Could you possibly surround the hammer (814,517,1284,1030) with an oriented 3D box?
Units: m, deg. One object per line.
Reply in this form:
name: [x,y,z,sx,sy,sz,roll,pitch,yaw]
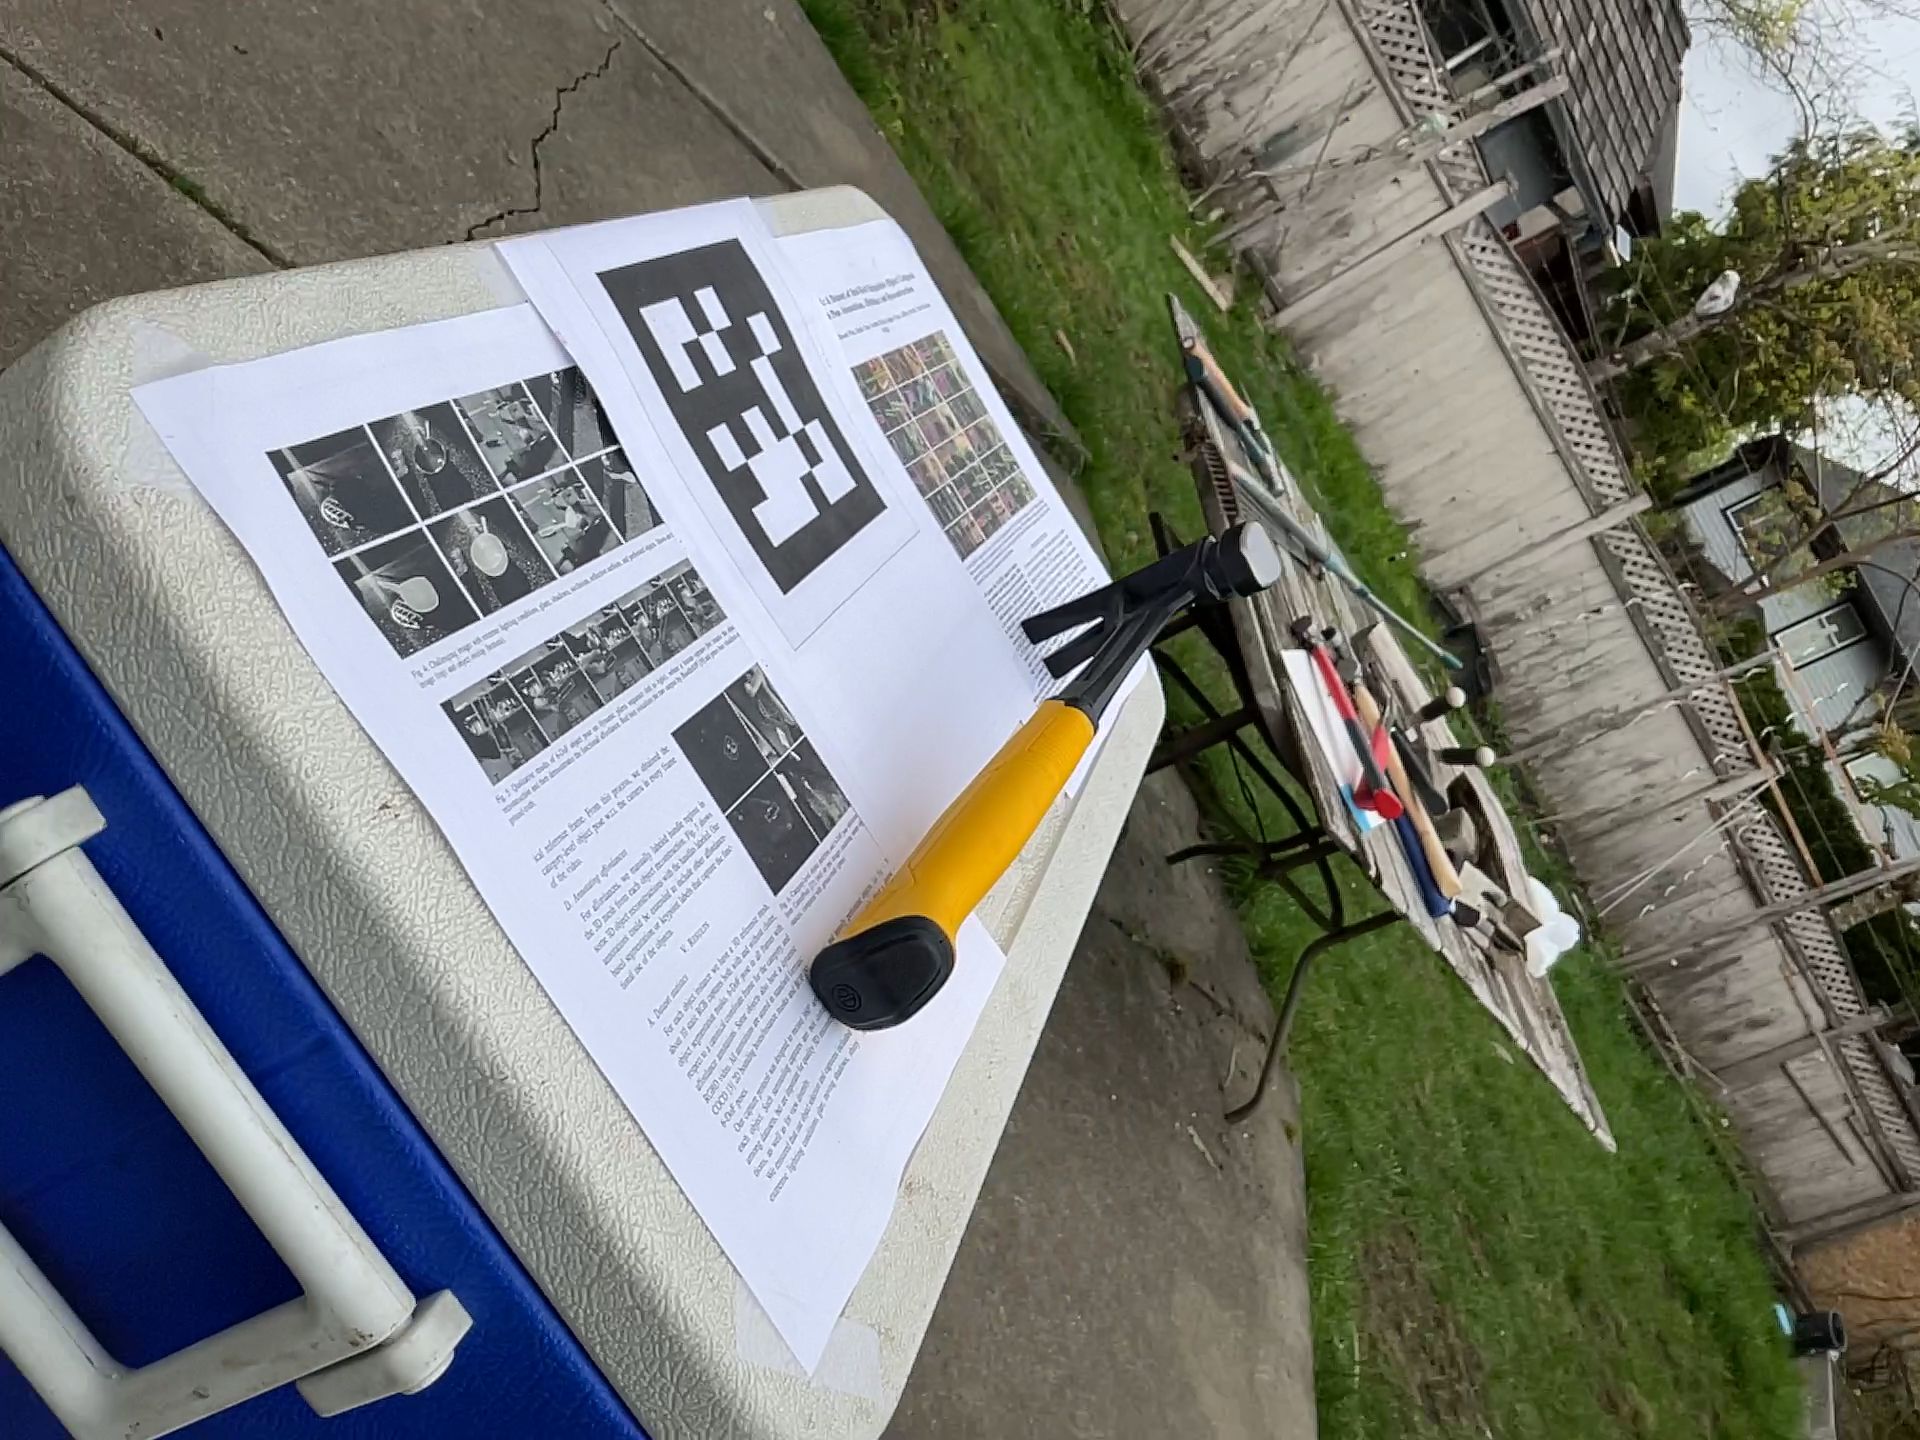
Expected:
hammer: [0.029,0.011,0.611,0.034,0.127,0.337,58,33,-11]
